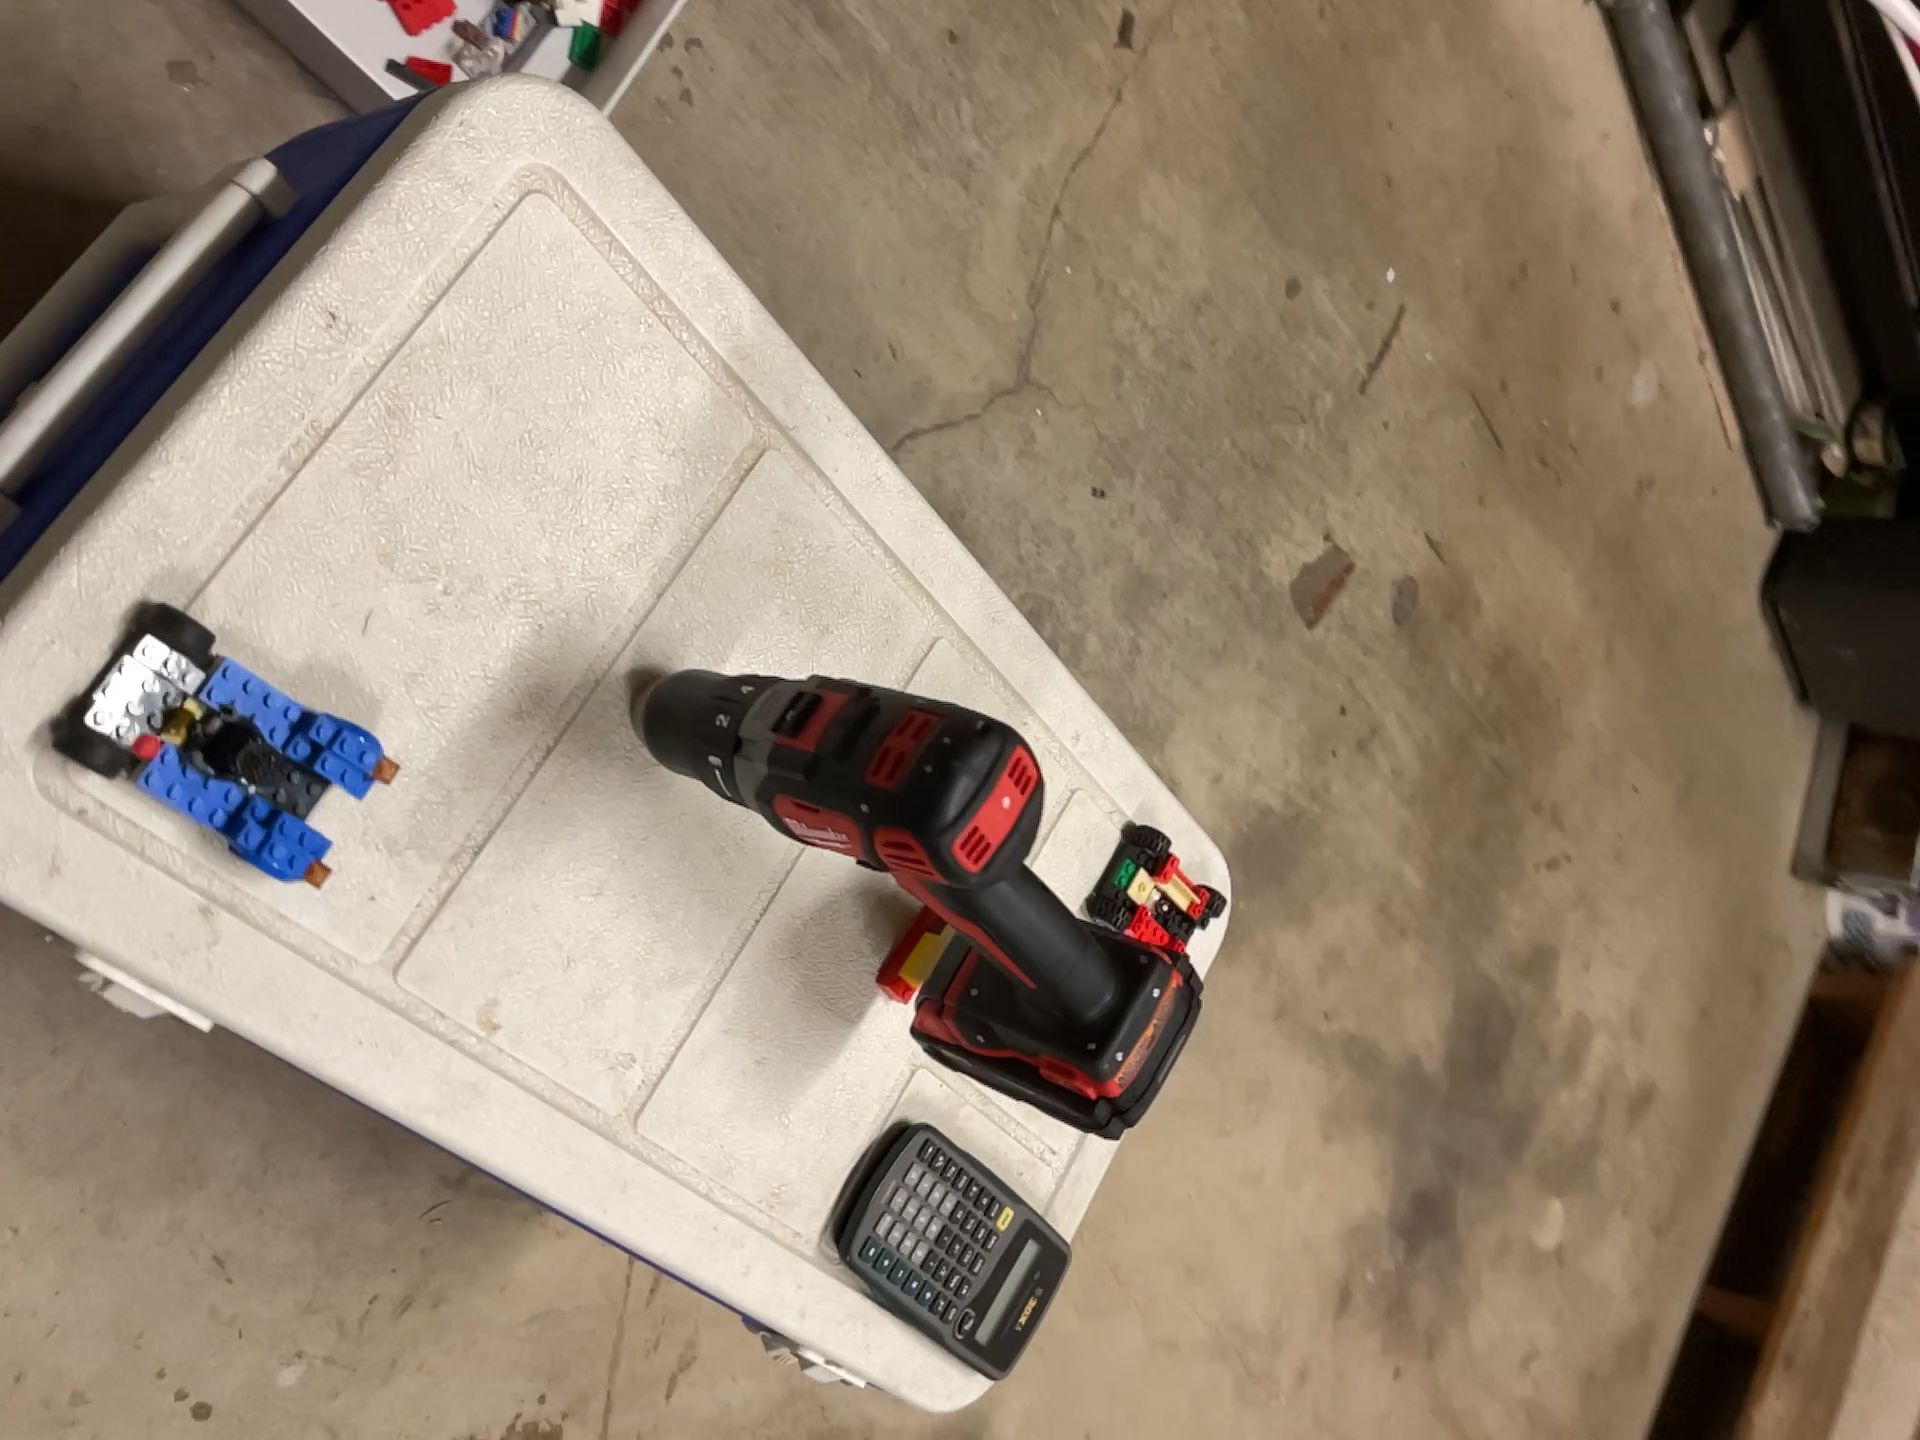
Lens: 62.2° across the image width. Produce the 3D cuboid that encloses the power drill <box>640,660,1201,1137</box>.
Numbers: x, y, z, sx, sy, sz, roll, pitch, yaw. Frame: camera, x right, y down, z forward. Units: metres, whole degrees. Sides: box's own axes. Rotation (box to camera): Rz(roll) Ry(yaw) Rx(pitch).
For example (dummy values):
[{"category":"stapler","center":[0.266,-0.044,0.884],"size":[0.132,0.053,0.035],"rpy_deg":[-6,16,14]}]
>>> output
[{"category":"power drill","center":[-0.018,0.061,0.639],"size":[0.080,0.188,0.226],"rpy_deg":[-55,135,-20]}]
